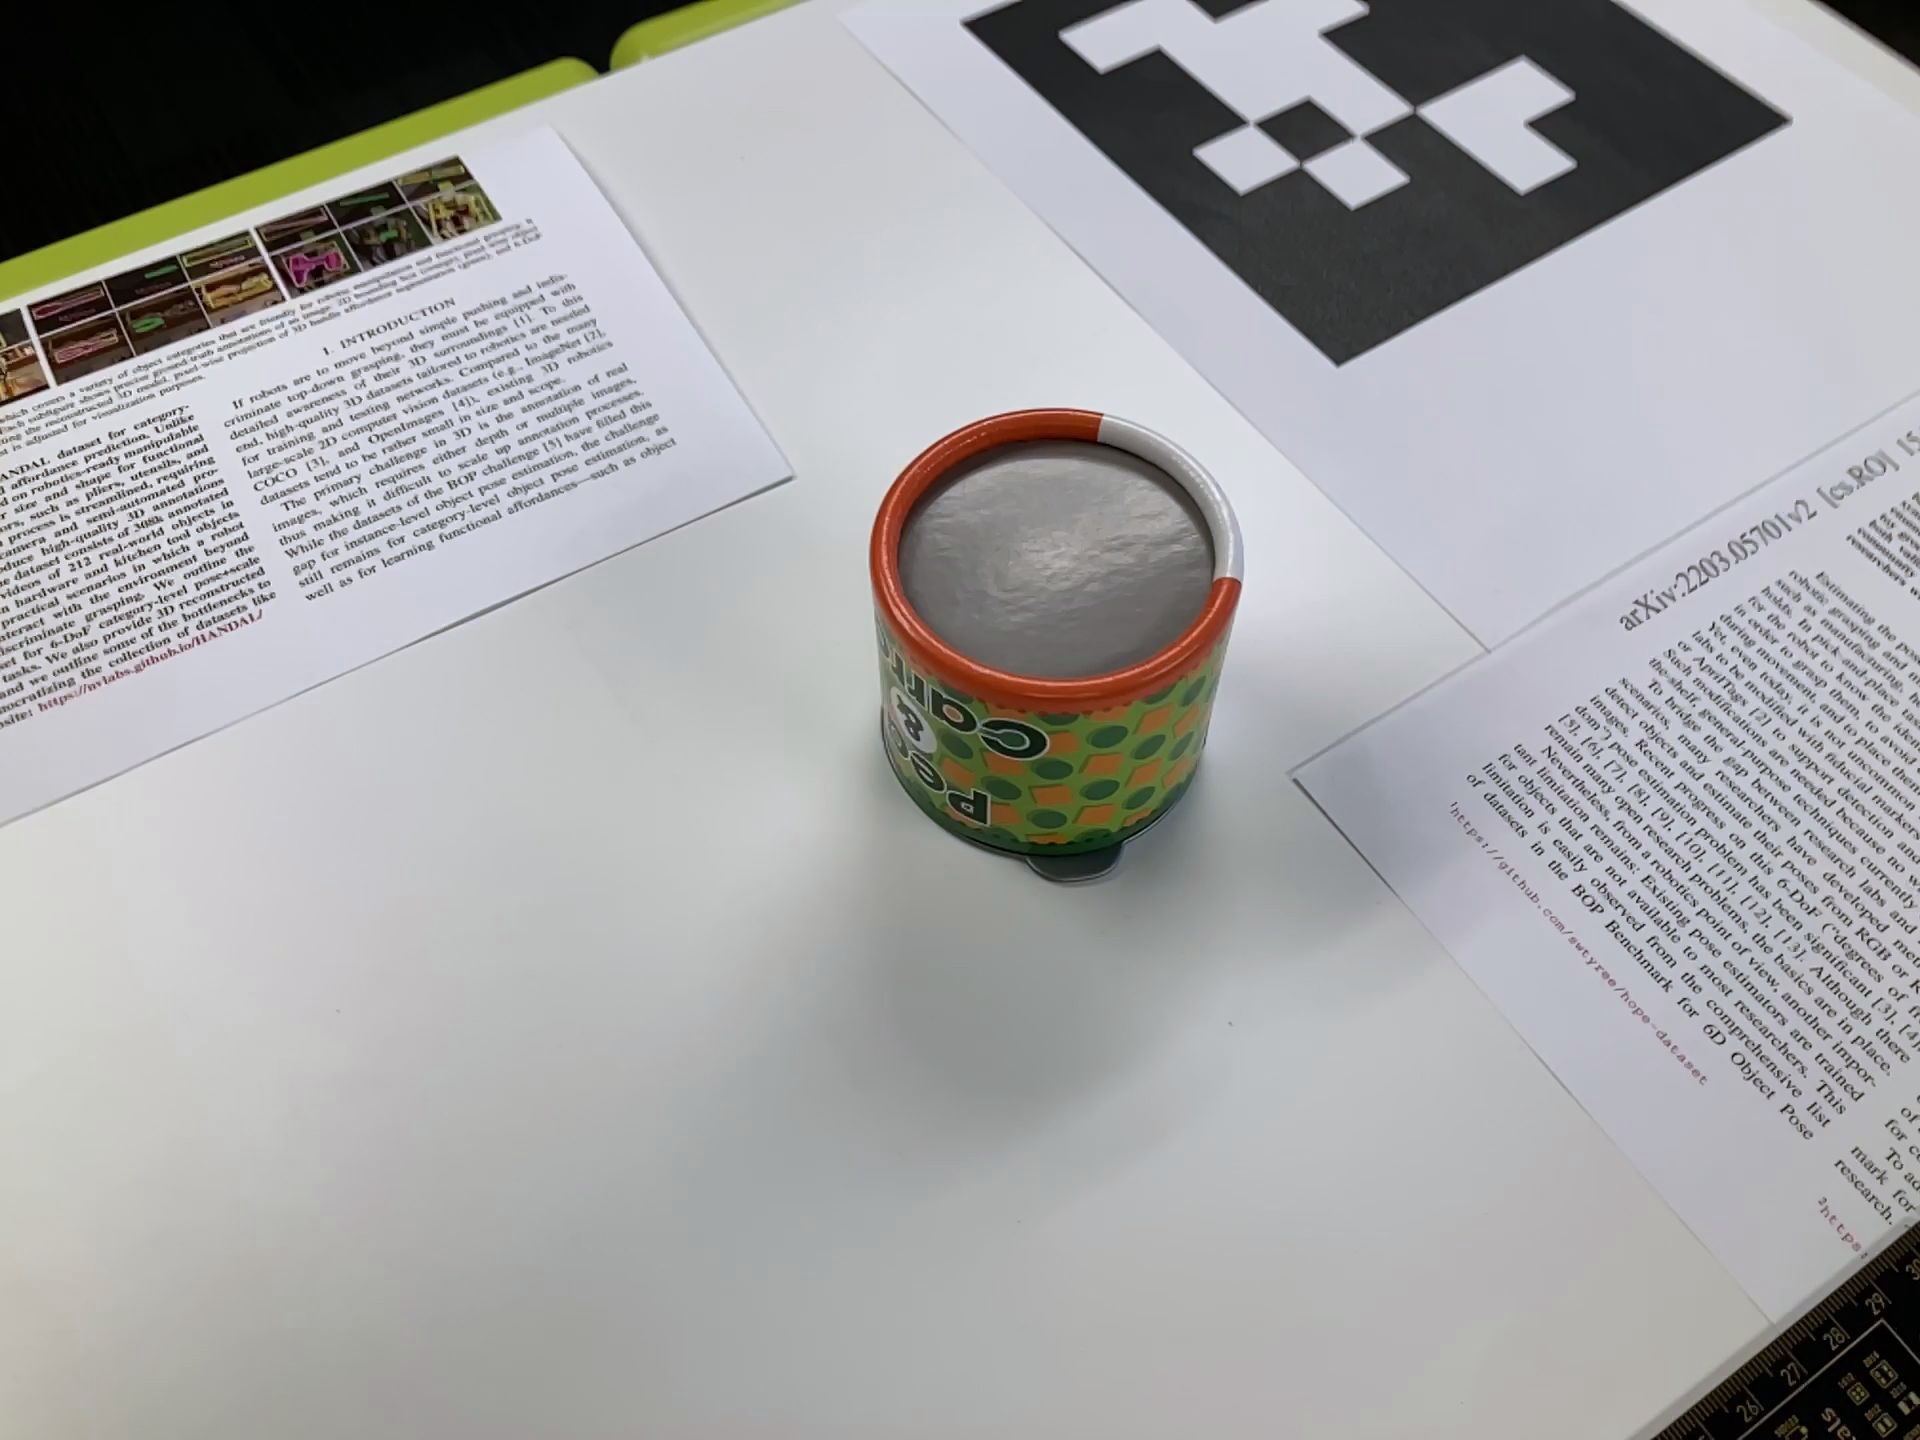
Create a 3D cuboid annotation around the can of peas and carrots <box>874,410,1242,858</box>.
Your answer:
[{"bbox_3d":[0.015,-0.015,0.303,0.071,0.059,0.071,0,57,1],"label":"can of peas and carrots"}]
